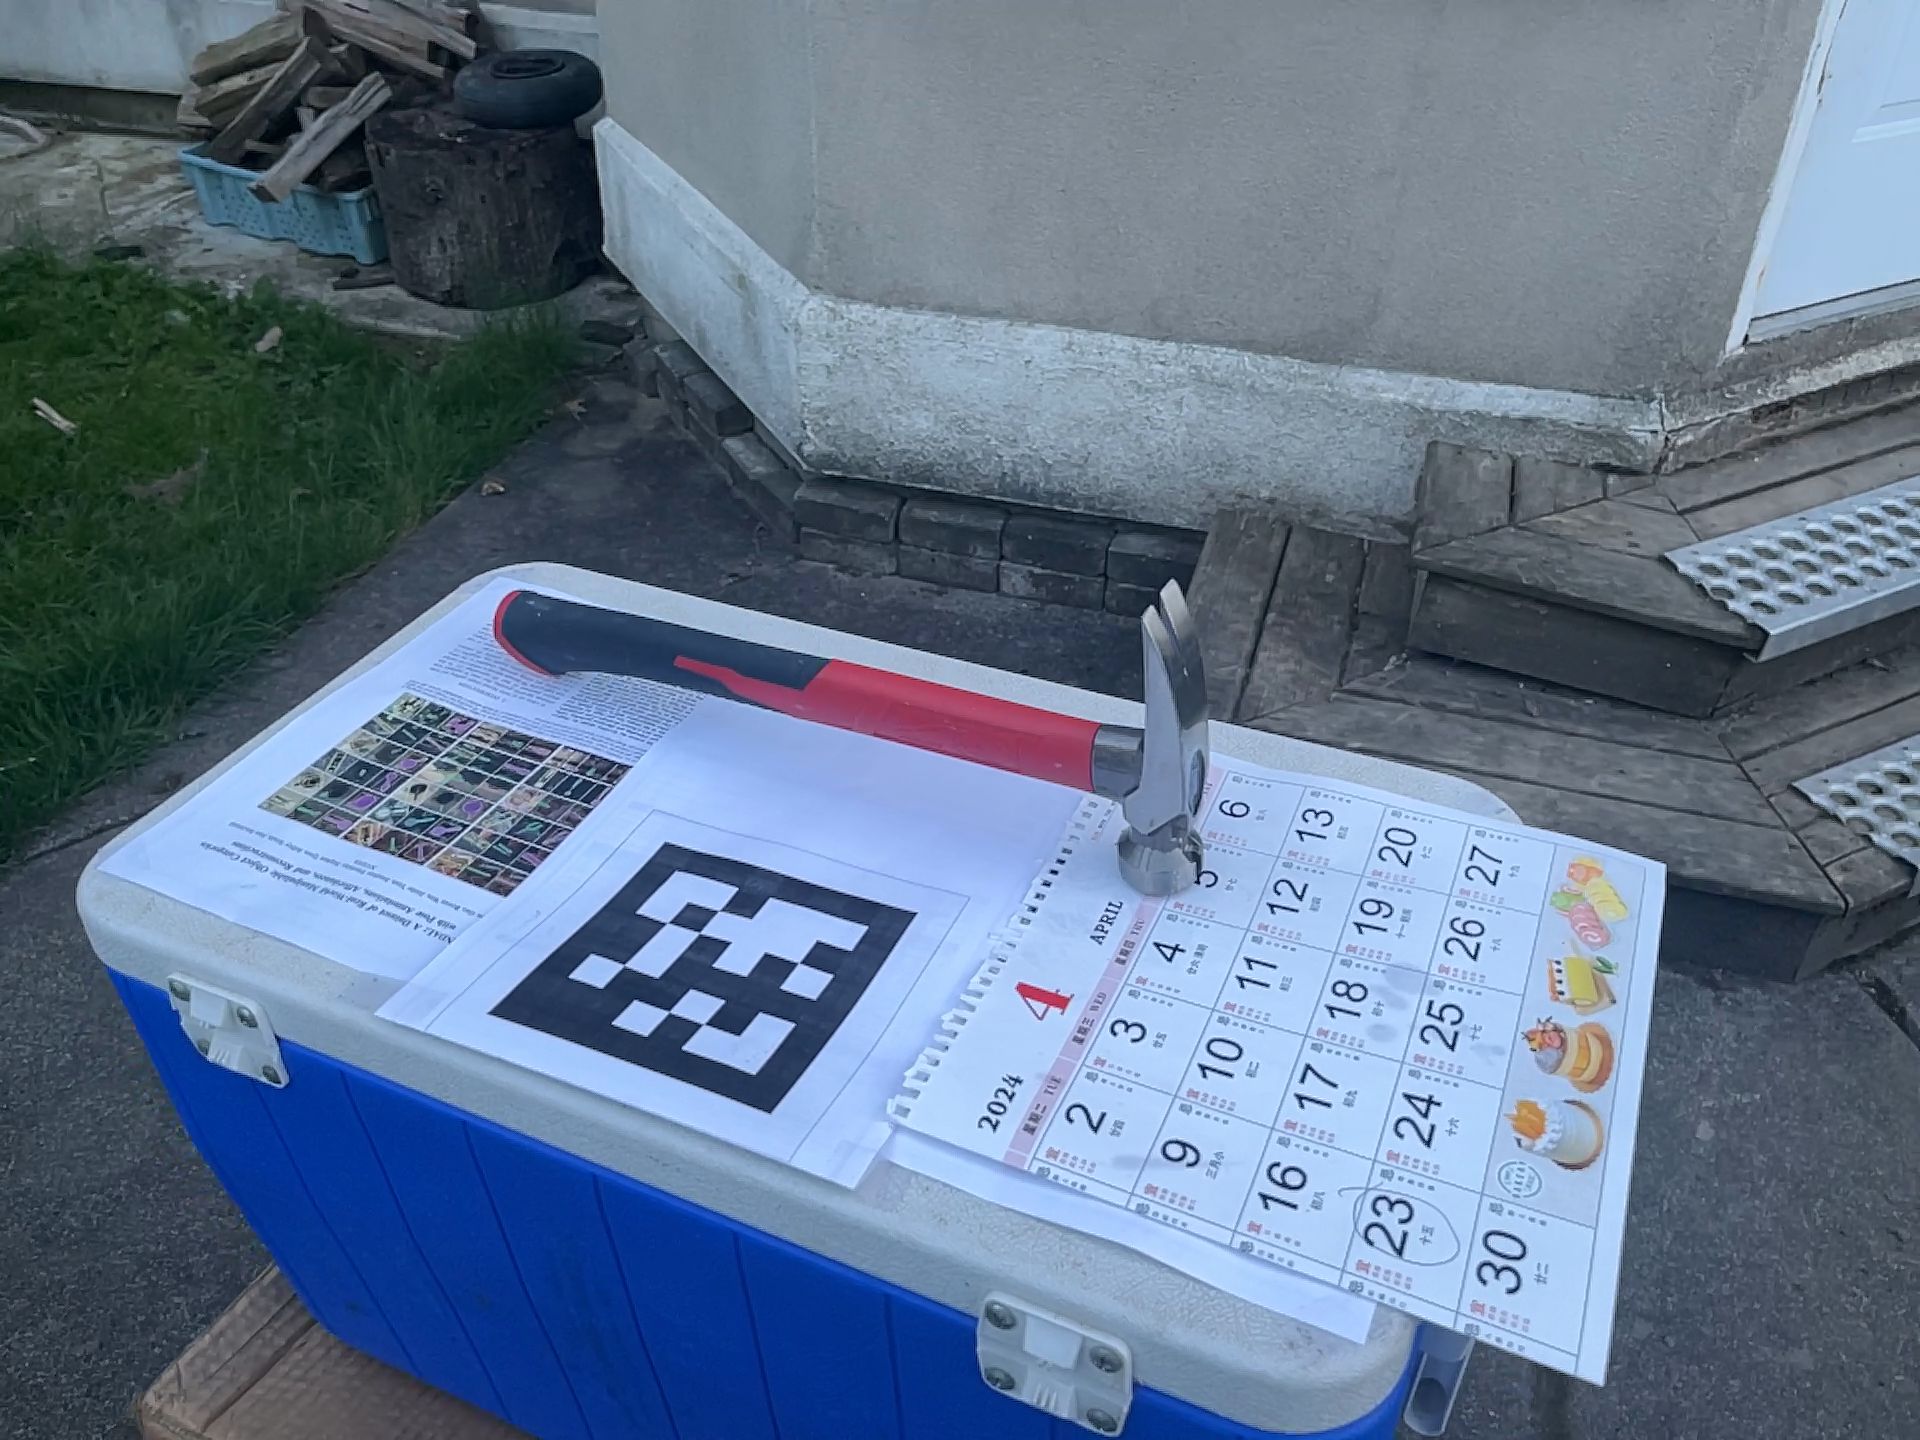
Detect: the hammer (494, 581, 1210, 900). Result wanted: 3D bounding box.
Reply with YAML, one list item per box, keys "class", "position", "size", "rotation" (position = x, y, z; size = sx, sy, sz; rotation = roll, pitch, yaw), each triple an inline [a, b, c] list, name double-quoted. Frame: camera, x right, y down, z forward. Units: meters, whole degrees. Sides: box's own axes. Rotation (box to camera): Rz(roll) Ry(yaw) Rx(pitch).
- class: "hammer"
  position: [-0.070, -0.026, 0.722]
  size: [0.386, 0.143, 0.038]
  rotation: [14, 39, 27]
